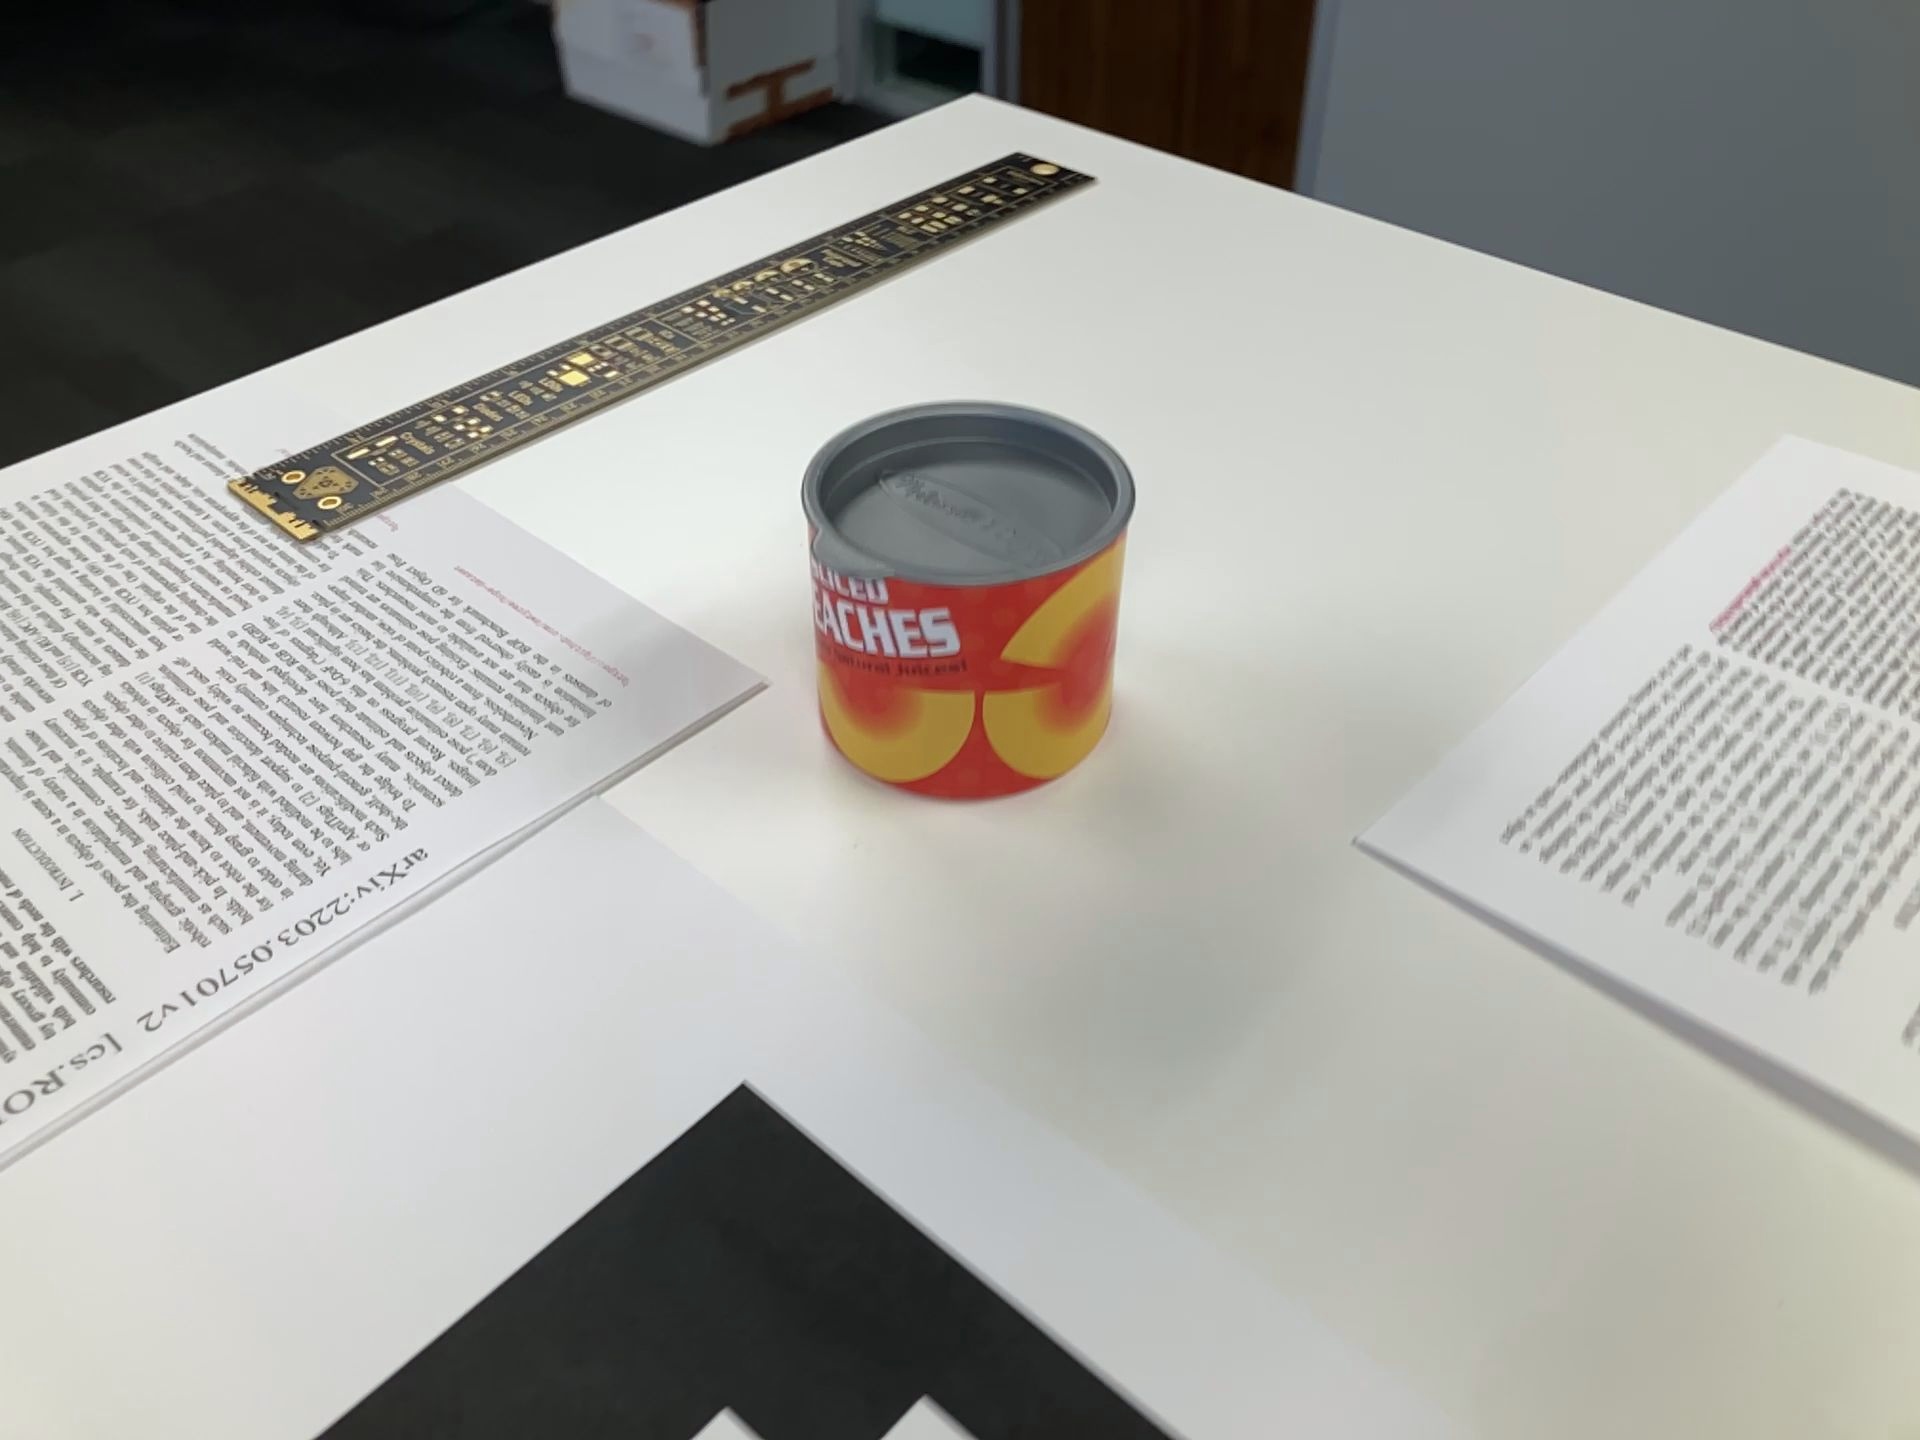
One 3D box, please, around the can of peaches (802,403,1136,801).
[{"bbox_3d":[0.000,-0.024,0.333,0.071,0.058,0.071,0,41,0],"label":"can of peaches"}]
